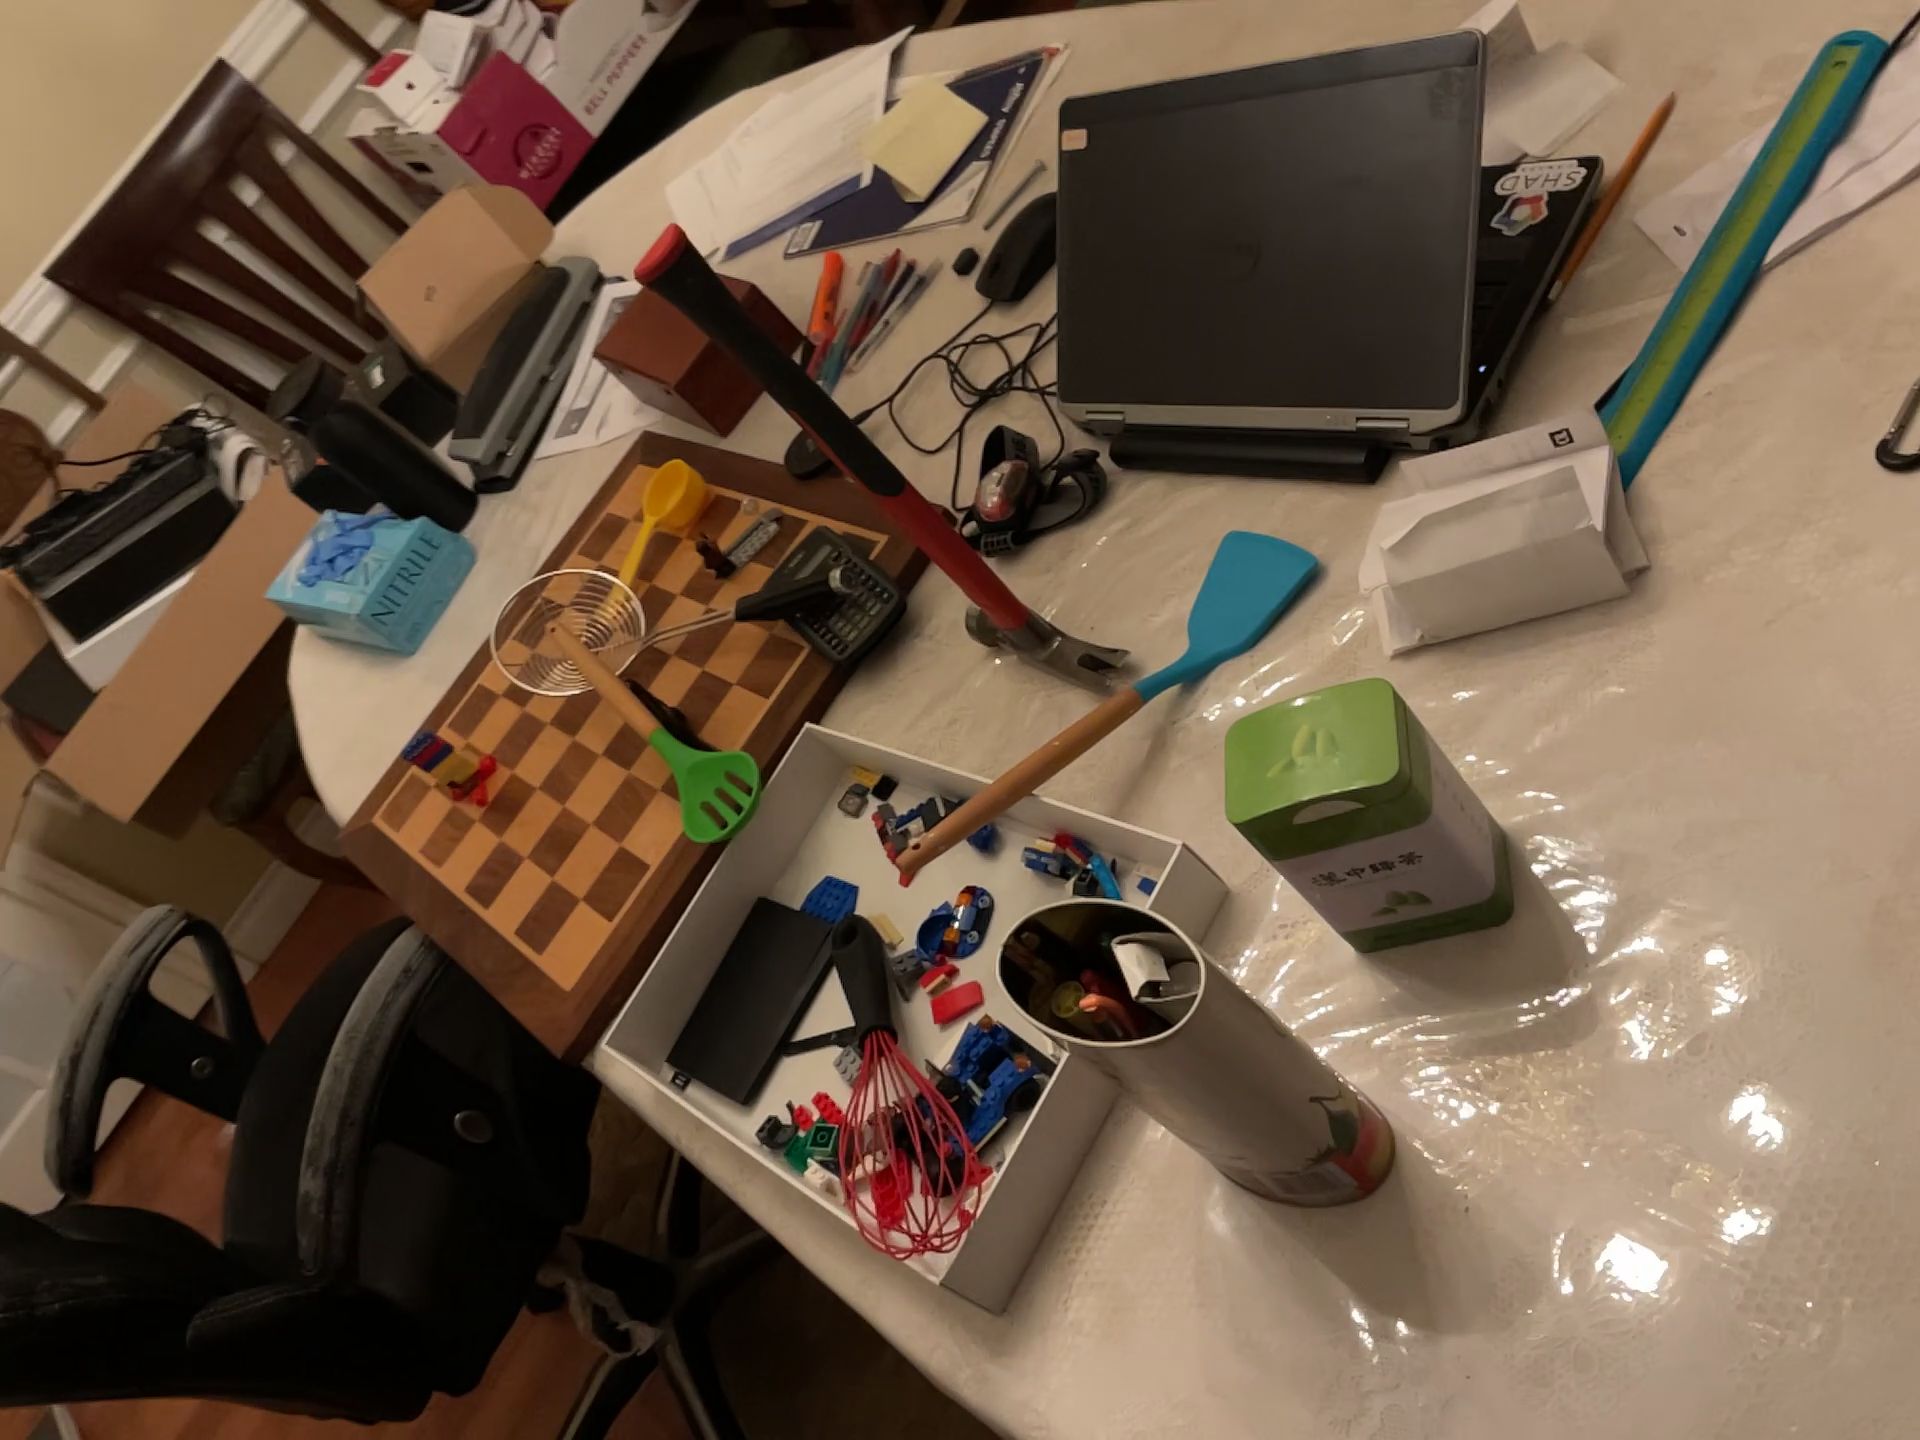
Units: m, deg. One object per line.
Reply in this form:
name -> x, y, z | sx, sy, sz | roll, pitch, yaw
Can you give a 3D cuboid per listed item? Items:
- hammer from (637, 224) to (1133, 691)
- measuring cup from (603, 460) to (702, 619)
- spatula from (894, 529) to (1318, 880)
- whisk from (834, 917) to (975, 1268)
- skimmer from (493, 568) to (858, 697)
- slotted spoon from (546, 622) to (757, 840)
hammer -> -0.041, -0.144, 0.949 | 0.143, 0.385, 0.038 | 26, 77, 50
measuring cup -> -0.277, -0.157, 1.425 | 0.062, 0.029, 0.156 | 22, 87, 46
spatula -> 0.083, -0.009, 0.952 | 0.317, 0.044, 0.083 | -36, 37, -19
whisk -> -0.043, 0.196, 0.904 | 0.073, 0.073, 0.296 | -24, 28, 1
skimmer -> -0.234, -0.091, 1.265 | 0.364, 0.090, 0.127 | -11, 50, 41
slotted spoon -> -0.234, -0.002, 1.171 | 0.070, 0.031, 0.314 | -51, 48, -1
